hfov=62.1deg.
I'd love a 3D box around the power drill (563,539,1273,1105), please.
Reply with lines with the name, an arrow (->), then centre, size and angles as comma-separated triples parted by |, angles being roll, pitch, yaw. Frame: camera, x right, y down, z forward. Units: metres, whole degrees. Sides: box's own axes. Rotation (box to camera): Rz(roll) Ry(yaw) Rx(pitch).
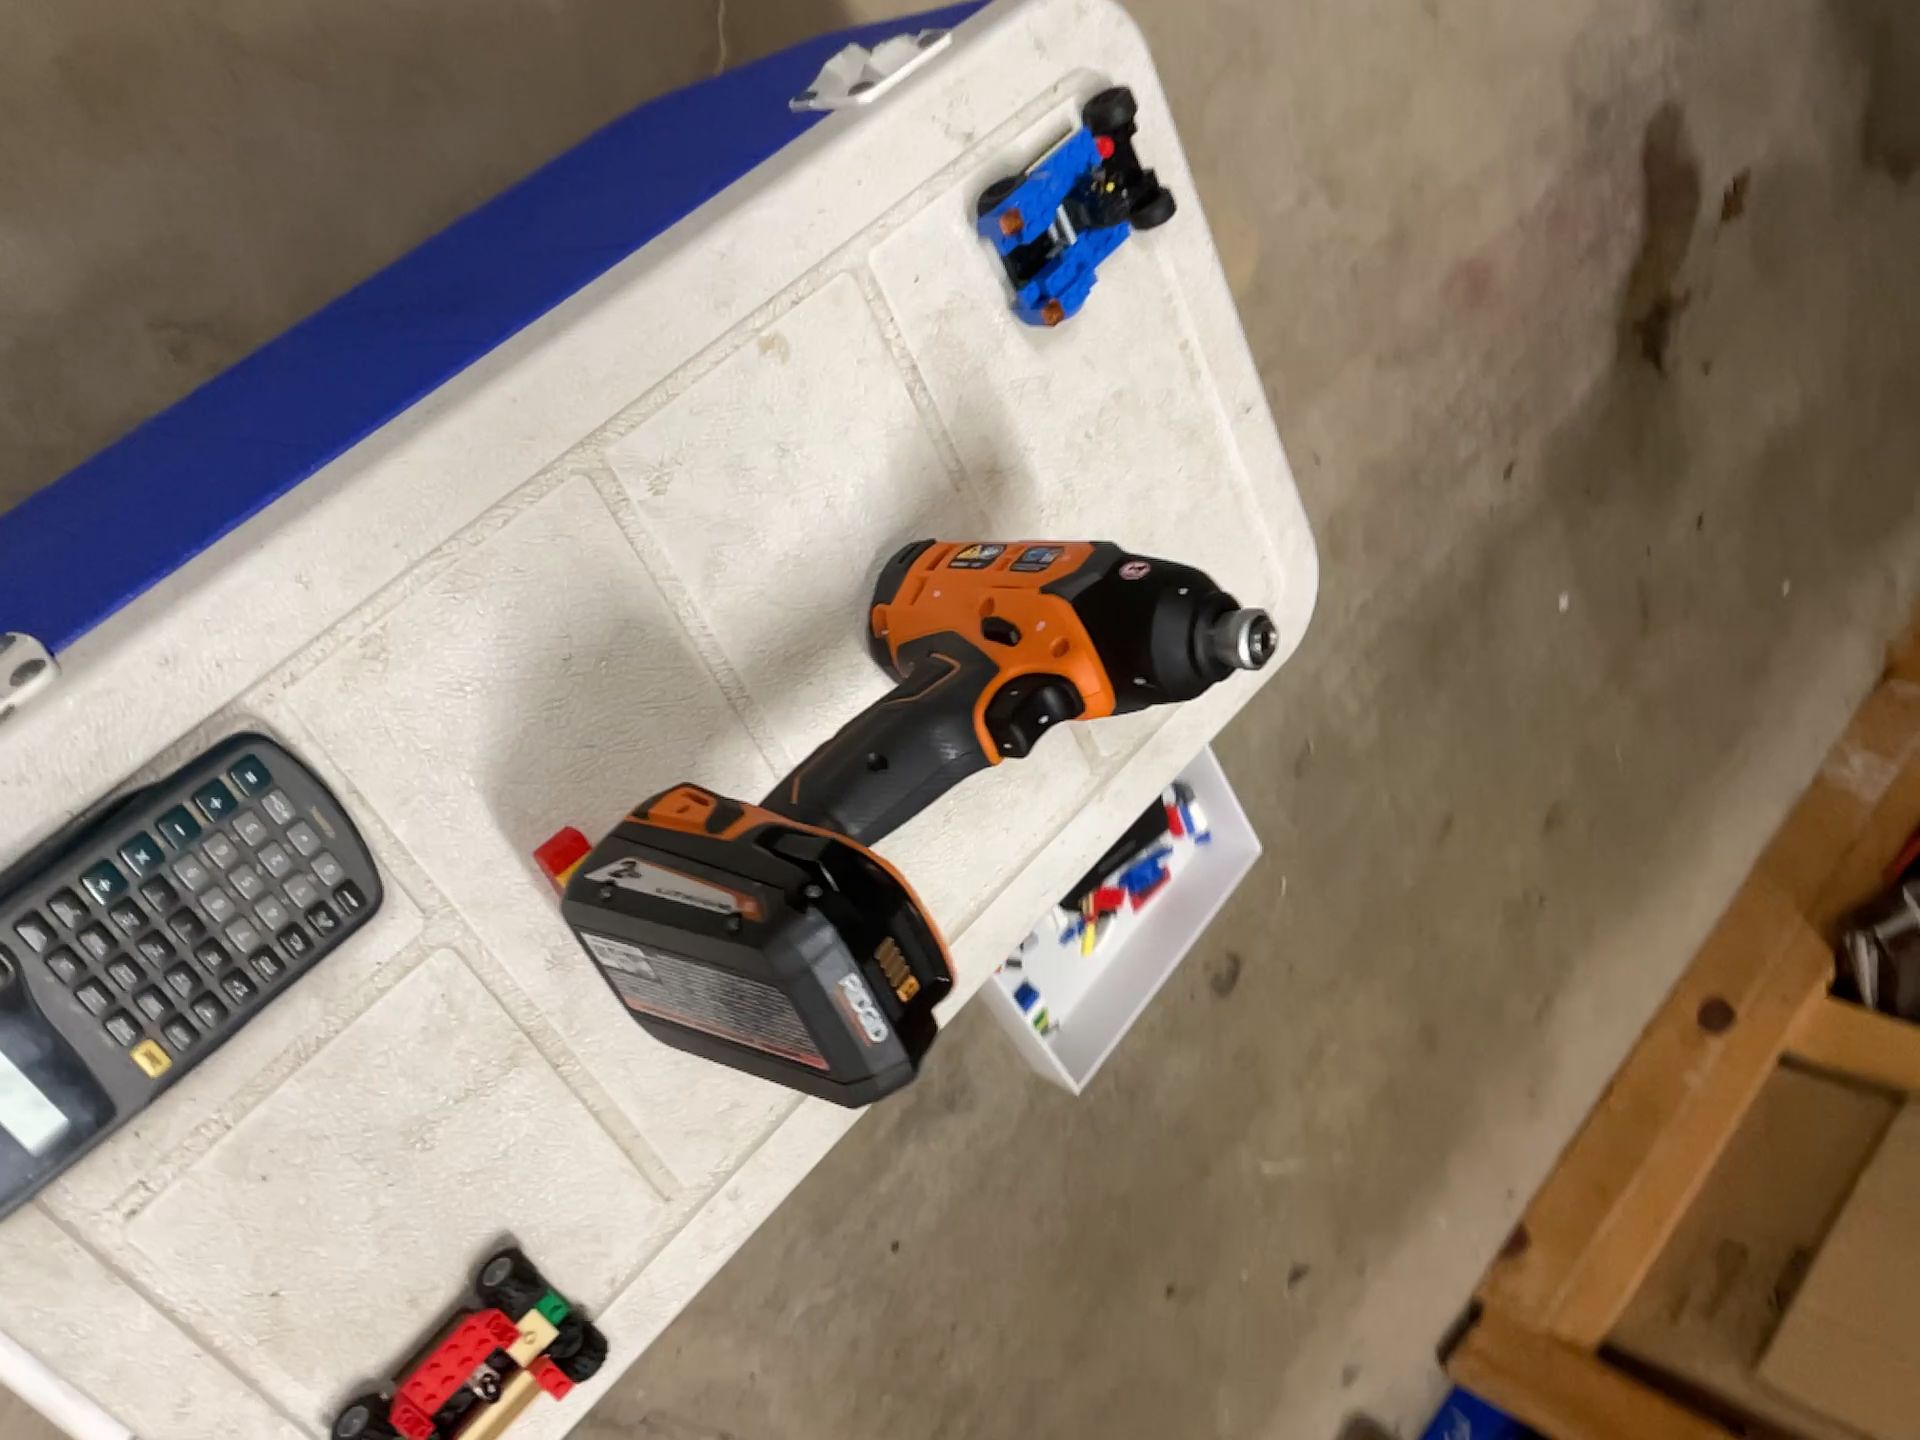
power drill -> -0.005, 0.016, 0.541 | 0.227, 0.164, 0.084 | -49, 128, -34
